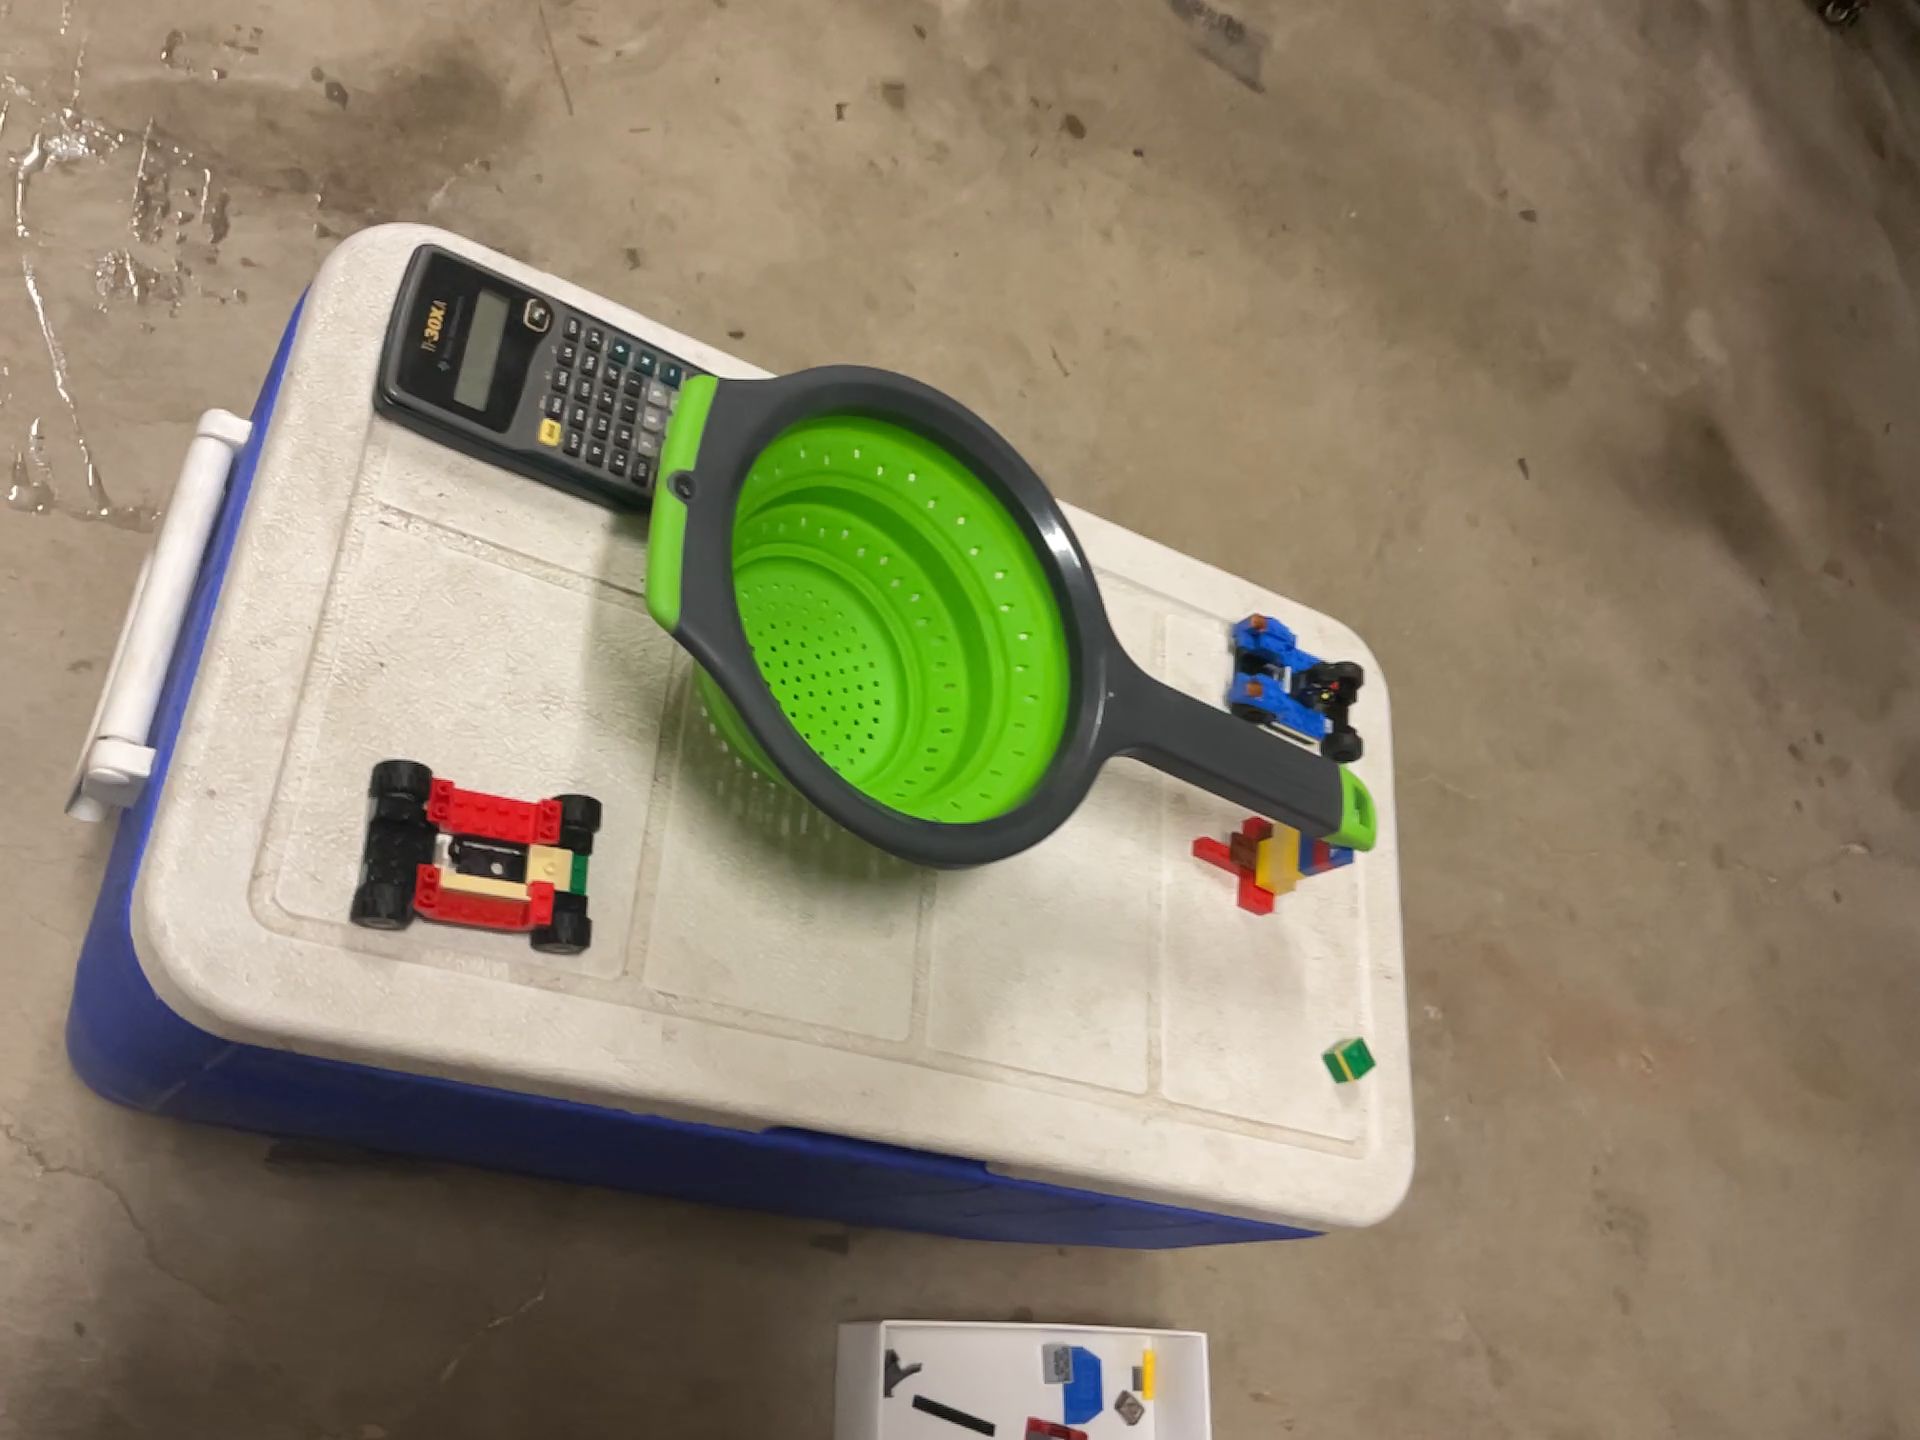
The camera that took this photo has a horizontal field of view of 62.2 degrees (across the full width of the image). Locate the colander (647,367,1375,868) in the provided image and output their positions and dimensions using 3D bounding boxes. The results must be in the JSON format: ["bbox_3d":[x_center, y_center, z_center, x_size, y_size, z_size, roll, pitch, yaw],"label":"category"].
[{"bbox_3d":[0.024,-0.004,0.689,0.397,0.094,0.205,23,57,-32],"label":"colander"}]
